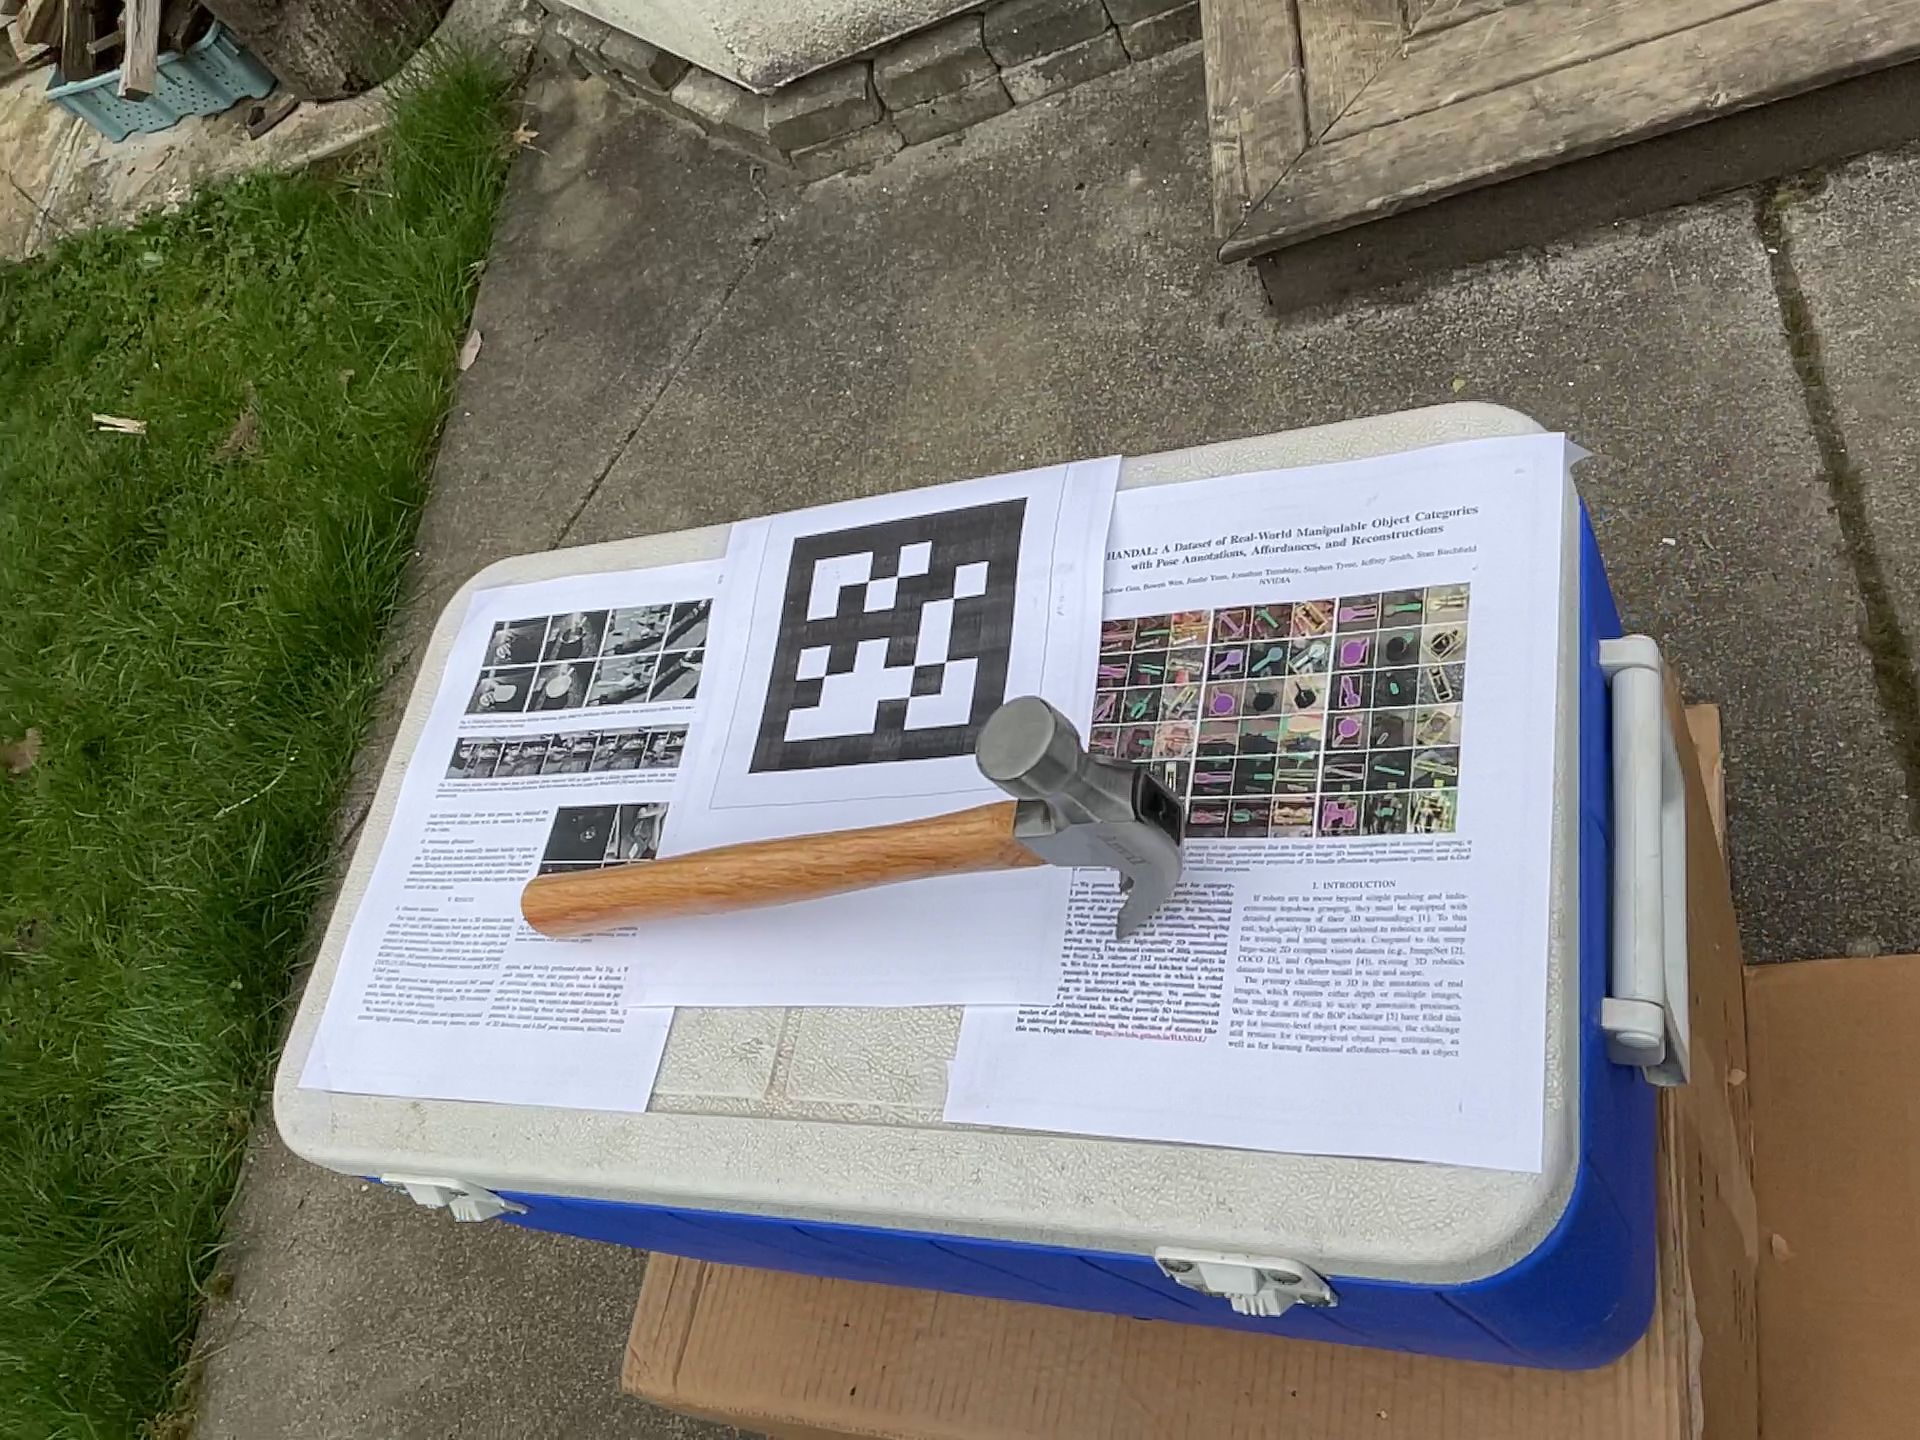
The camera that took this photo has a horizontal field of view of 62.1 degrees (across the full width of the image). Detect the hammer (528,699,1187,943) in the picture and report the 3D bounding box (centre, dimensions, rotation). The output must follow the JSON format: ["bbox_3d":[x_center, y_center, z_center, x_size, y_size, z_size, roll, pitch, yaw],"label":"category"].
[{"bbox_3d":[-0.058,0.060,0.640,0.332,0.129,0.031,-12,55,38],"label":"hammer"}]
